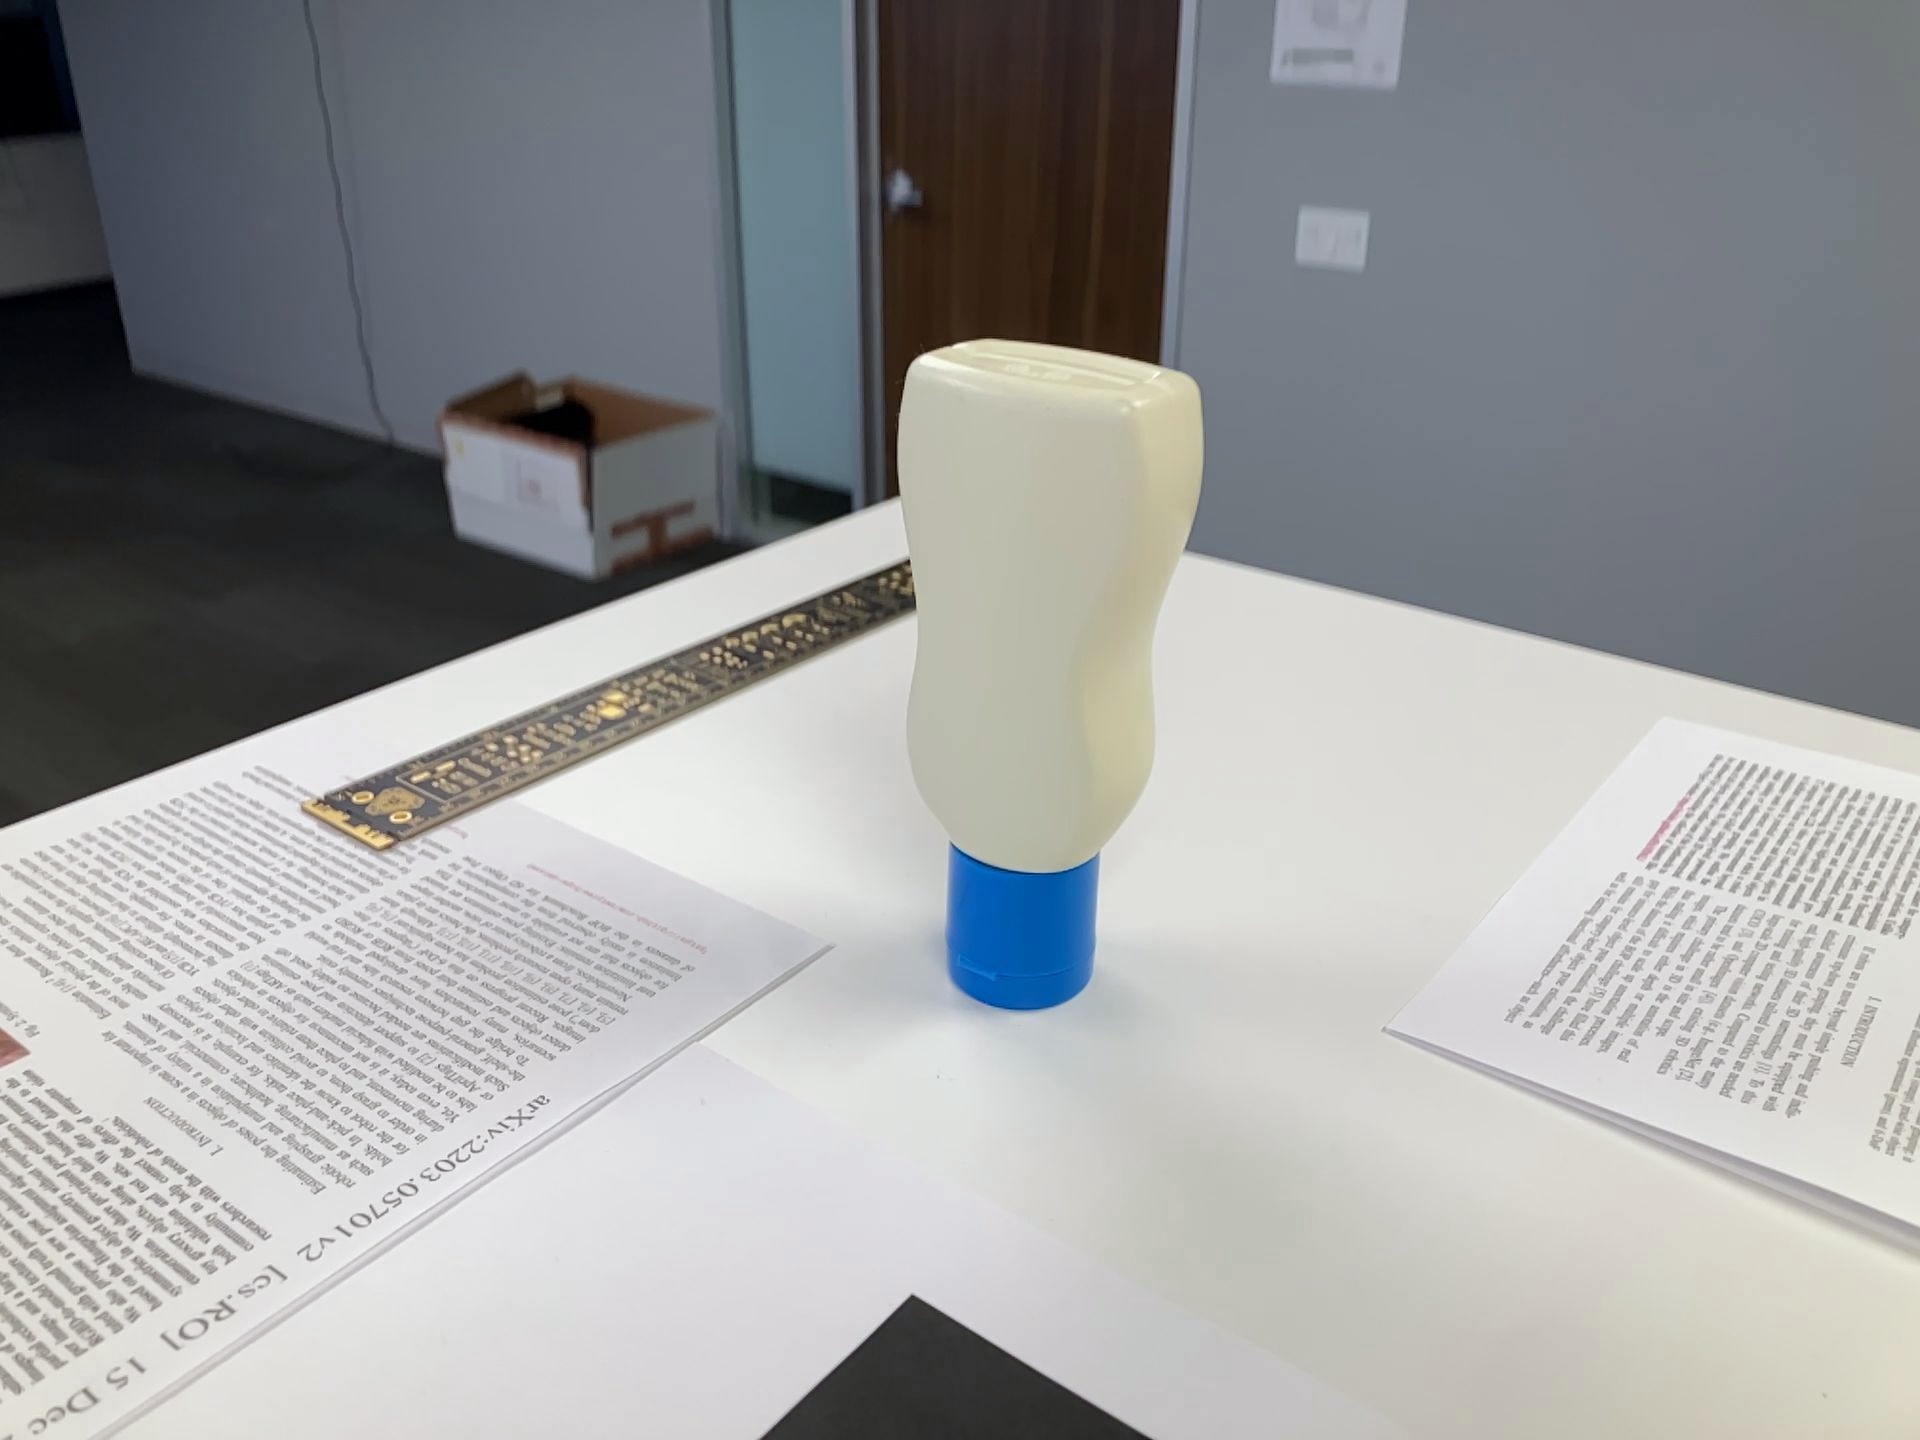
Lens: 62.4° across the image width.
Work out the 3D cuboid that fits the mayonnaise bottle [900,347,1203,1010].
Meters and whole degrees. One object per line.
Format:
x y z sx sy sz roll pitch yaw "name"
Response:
0.017 -0.006 0.360 0.065 0.148 0.041 18 30 31 "mayonnaise bottle"
